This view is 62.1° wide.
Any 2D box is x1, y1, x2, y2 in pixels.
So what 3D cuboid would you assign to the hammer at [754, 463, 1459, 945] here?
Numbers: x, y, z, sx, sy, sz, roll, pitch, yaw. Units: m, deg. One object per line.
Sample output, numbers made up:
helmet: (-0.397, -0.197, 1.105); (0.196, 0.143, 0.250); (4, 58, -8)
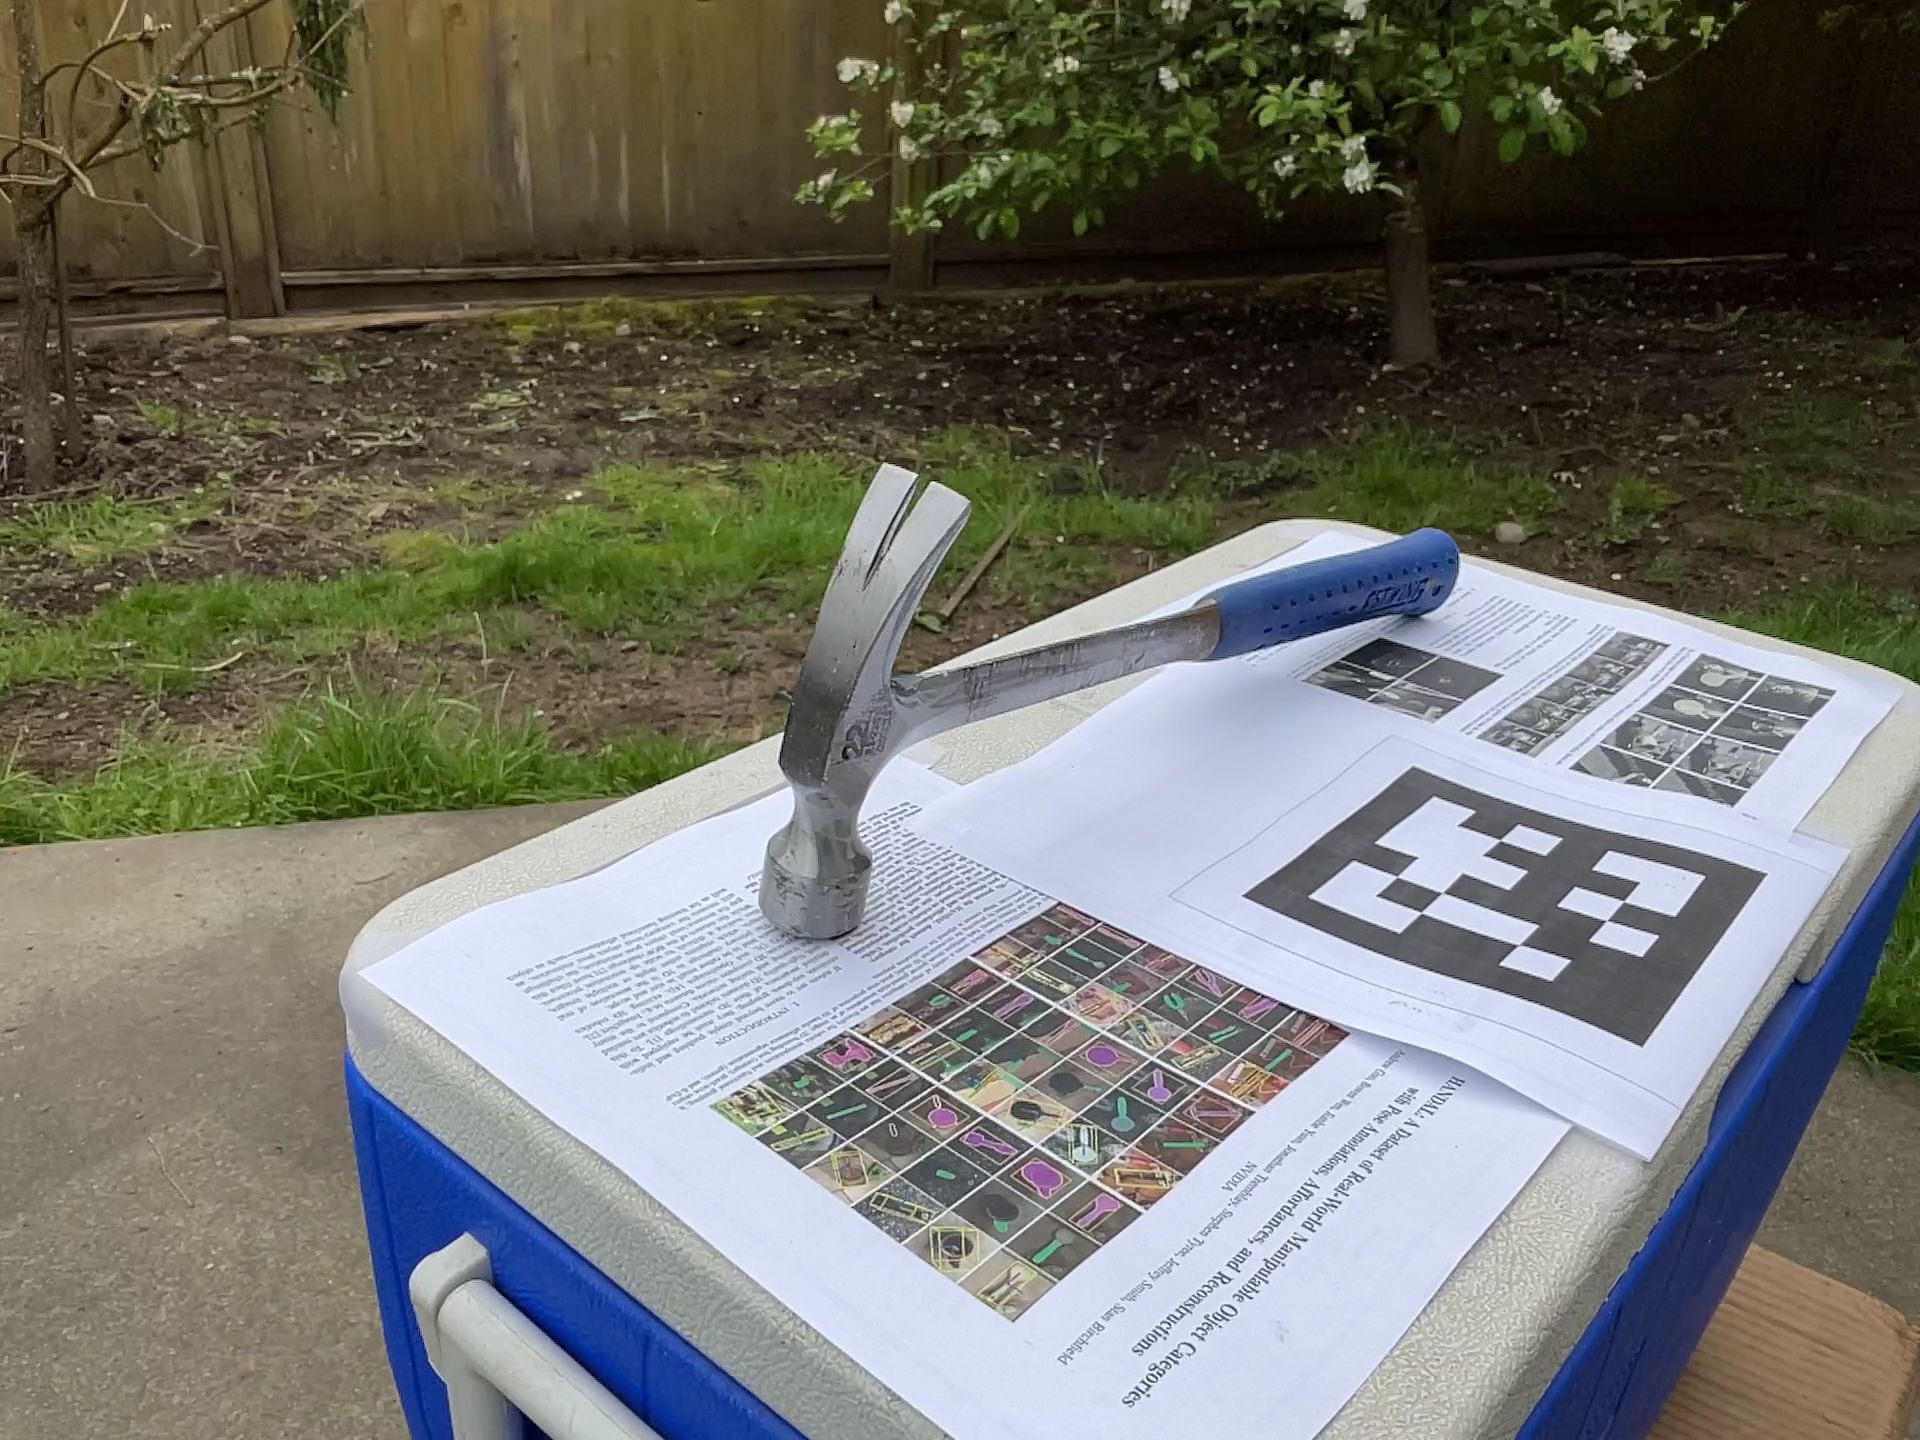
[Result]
hammer: (0.088, -0.036, 0.604); (0.035, 0.144, 0.405); (30, 29, 33)
